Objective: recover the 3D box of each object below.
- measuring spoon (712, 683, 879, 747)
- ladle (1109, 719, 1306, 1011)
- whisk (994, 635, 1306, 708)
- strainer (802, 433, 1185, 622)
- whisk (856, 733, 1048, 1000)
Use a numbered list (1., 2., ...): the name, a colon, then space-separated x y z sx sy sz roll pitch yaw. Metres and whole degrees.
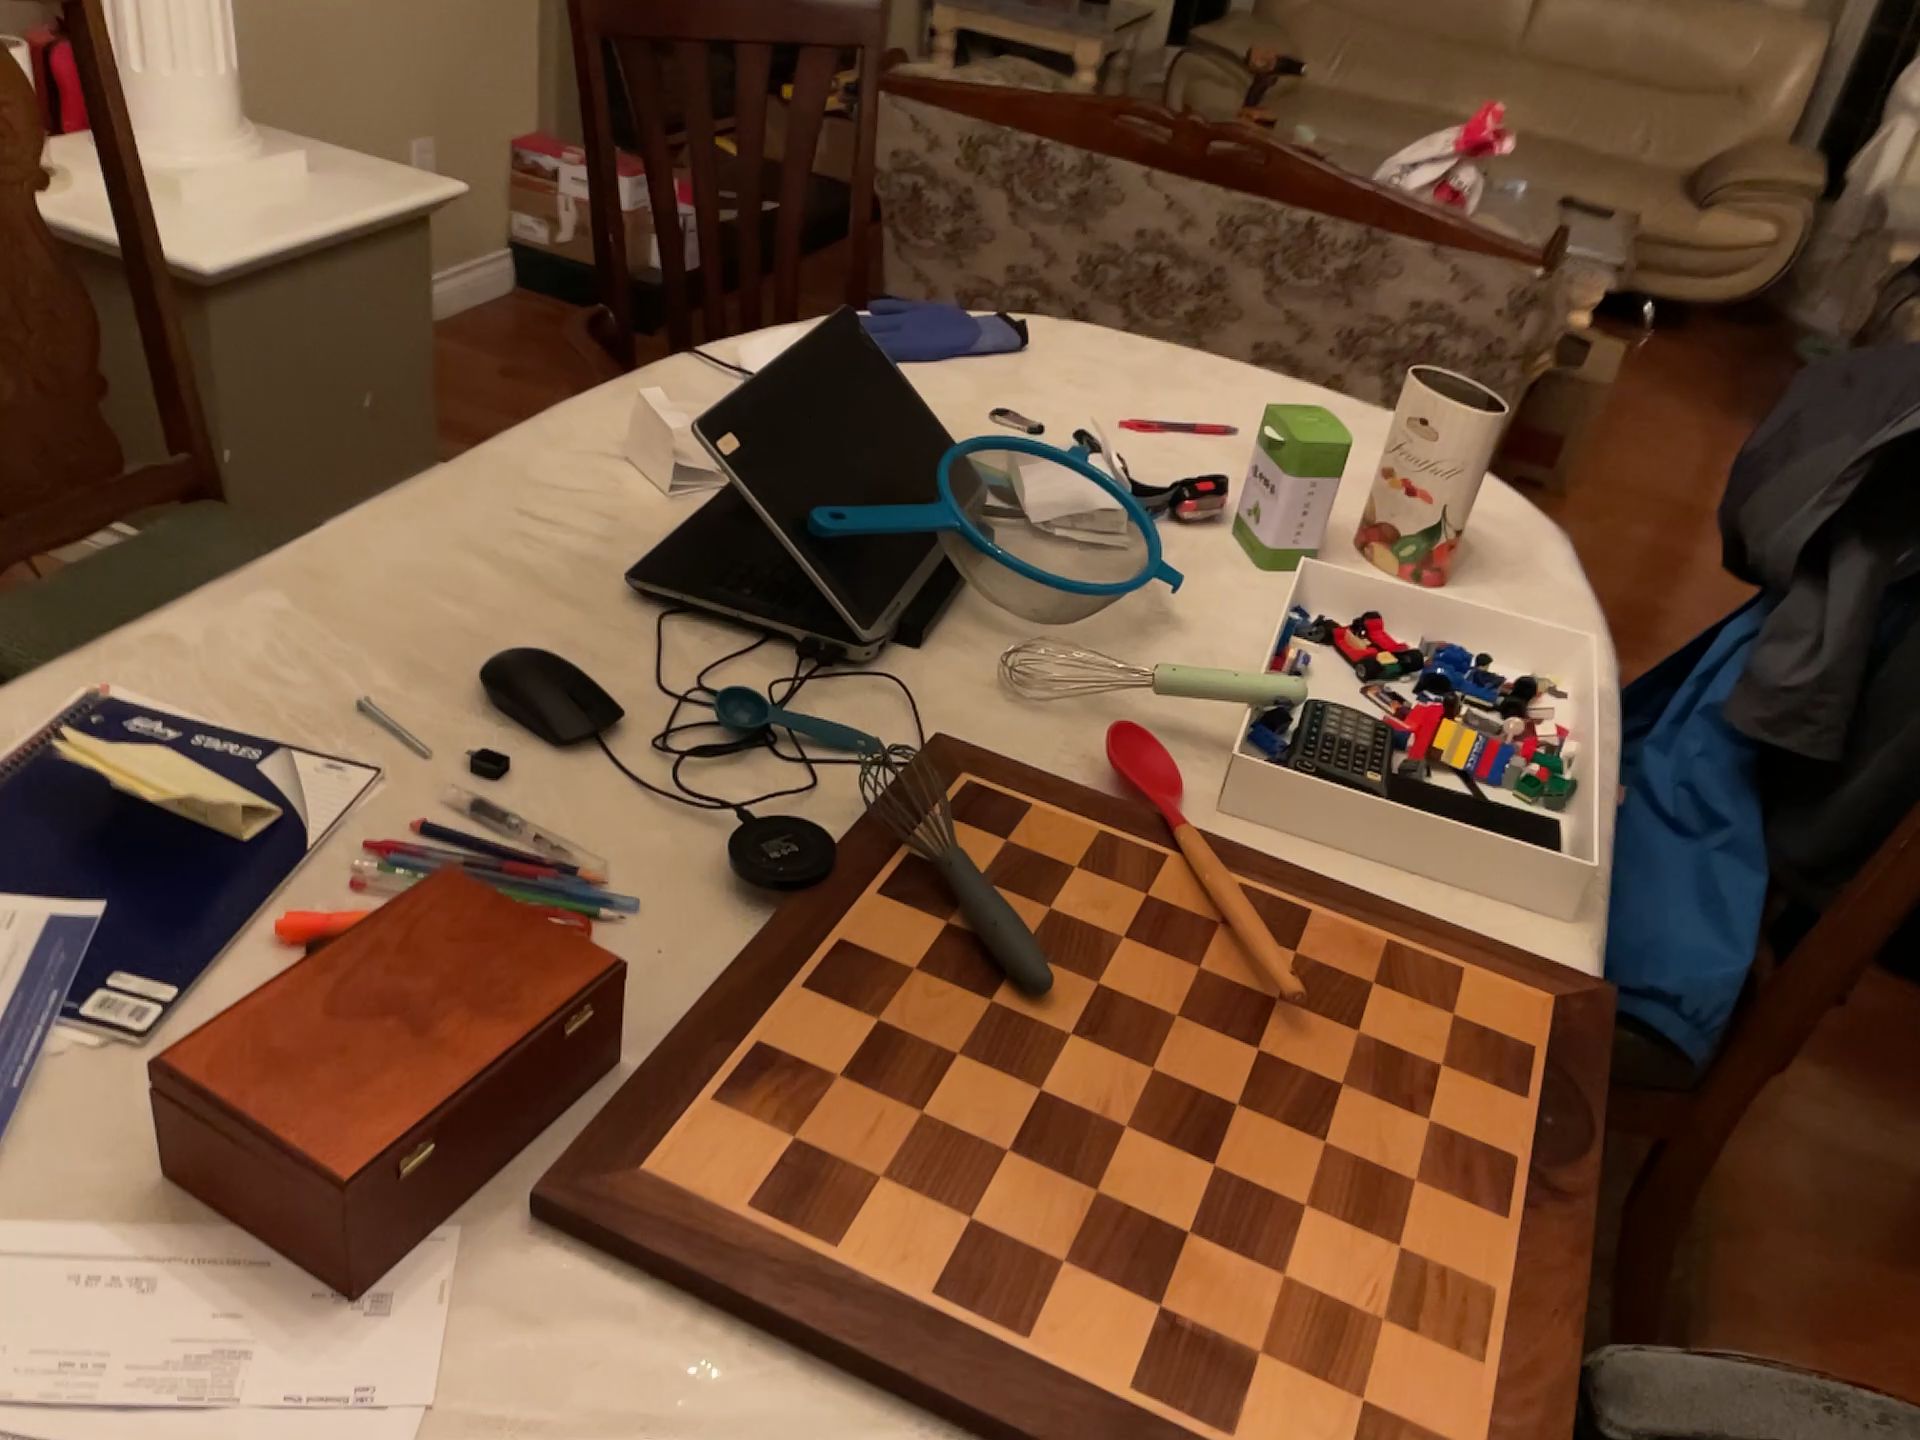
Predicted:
1. measuring spoon: -0.121 0.006 1.169 0.128 0.021 0.042 16 39 -14
2. ladle: 0.165 0.091 1.077 0.069 0.031 0.316 21 22 -25
3. whisk: 0.144 -0.033 1.235 0.246 0.057 0.059 6 61 19
4. strainer: 0.010 -0.145 1.351 0.340 0.095 0.211 -7 49 -33
5. whisk: -0.008 0.092 1.019 0.055 0.055 0.239 -20 46 -18
